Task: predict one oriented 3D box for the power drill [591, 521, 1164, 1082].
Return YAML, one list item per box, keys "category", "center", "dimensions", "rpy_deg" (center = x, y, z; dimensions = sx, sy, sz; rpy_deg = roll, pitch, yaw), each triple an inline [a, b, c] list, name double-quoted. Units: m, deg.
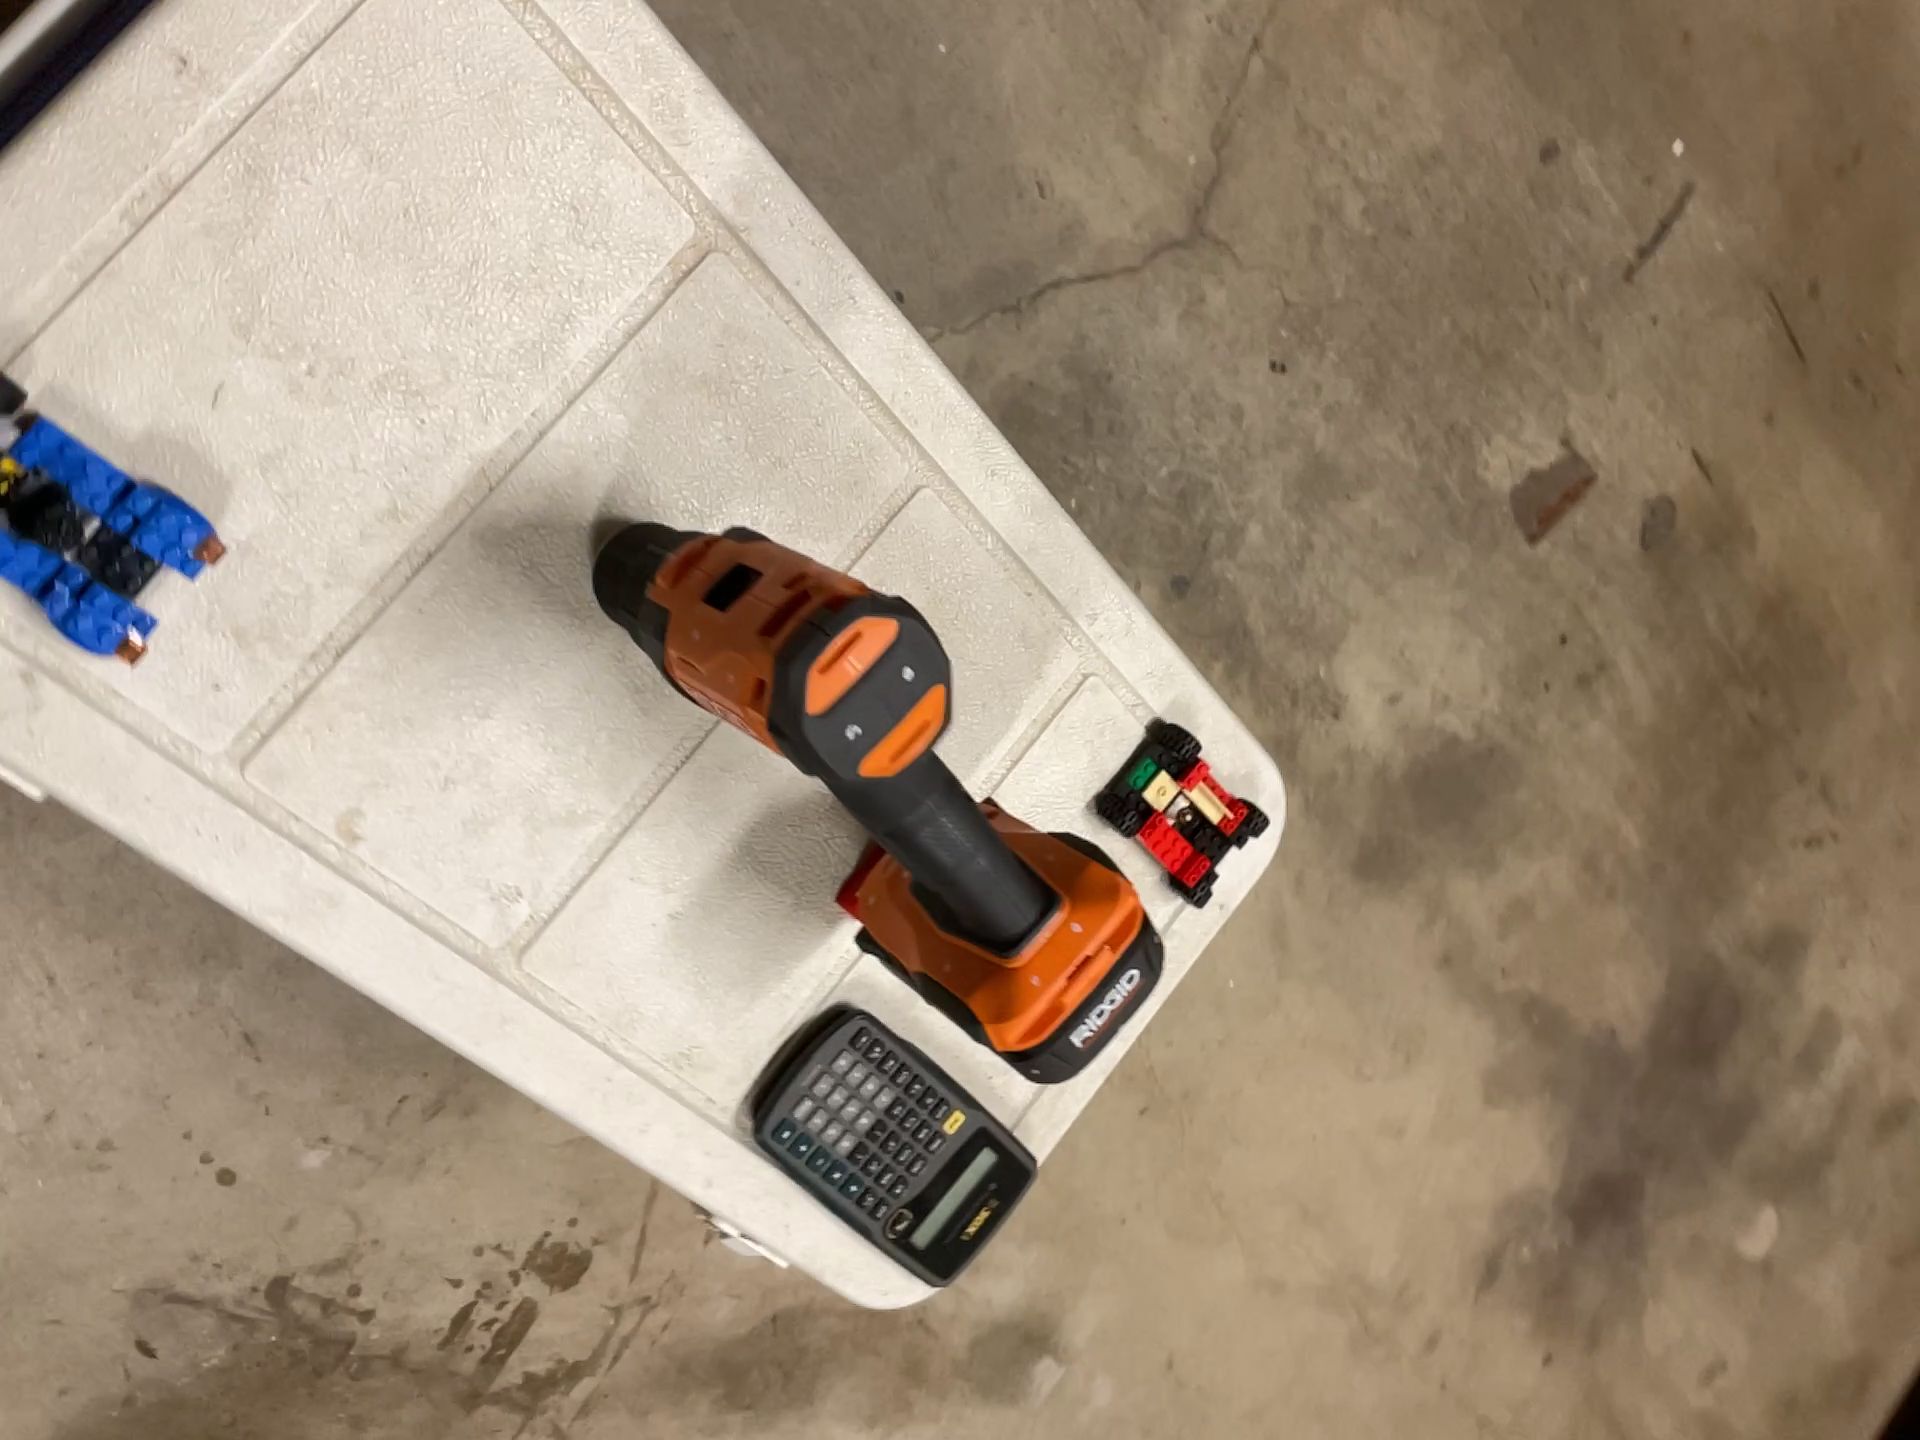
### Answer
- category: "power drill"
  center: [-0.038, 0.019, 0.588]
  dimensions: [0.084, 0.185, 0.226]
  rpy_deg: [-47, 128, -14]
